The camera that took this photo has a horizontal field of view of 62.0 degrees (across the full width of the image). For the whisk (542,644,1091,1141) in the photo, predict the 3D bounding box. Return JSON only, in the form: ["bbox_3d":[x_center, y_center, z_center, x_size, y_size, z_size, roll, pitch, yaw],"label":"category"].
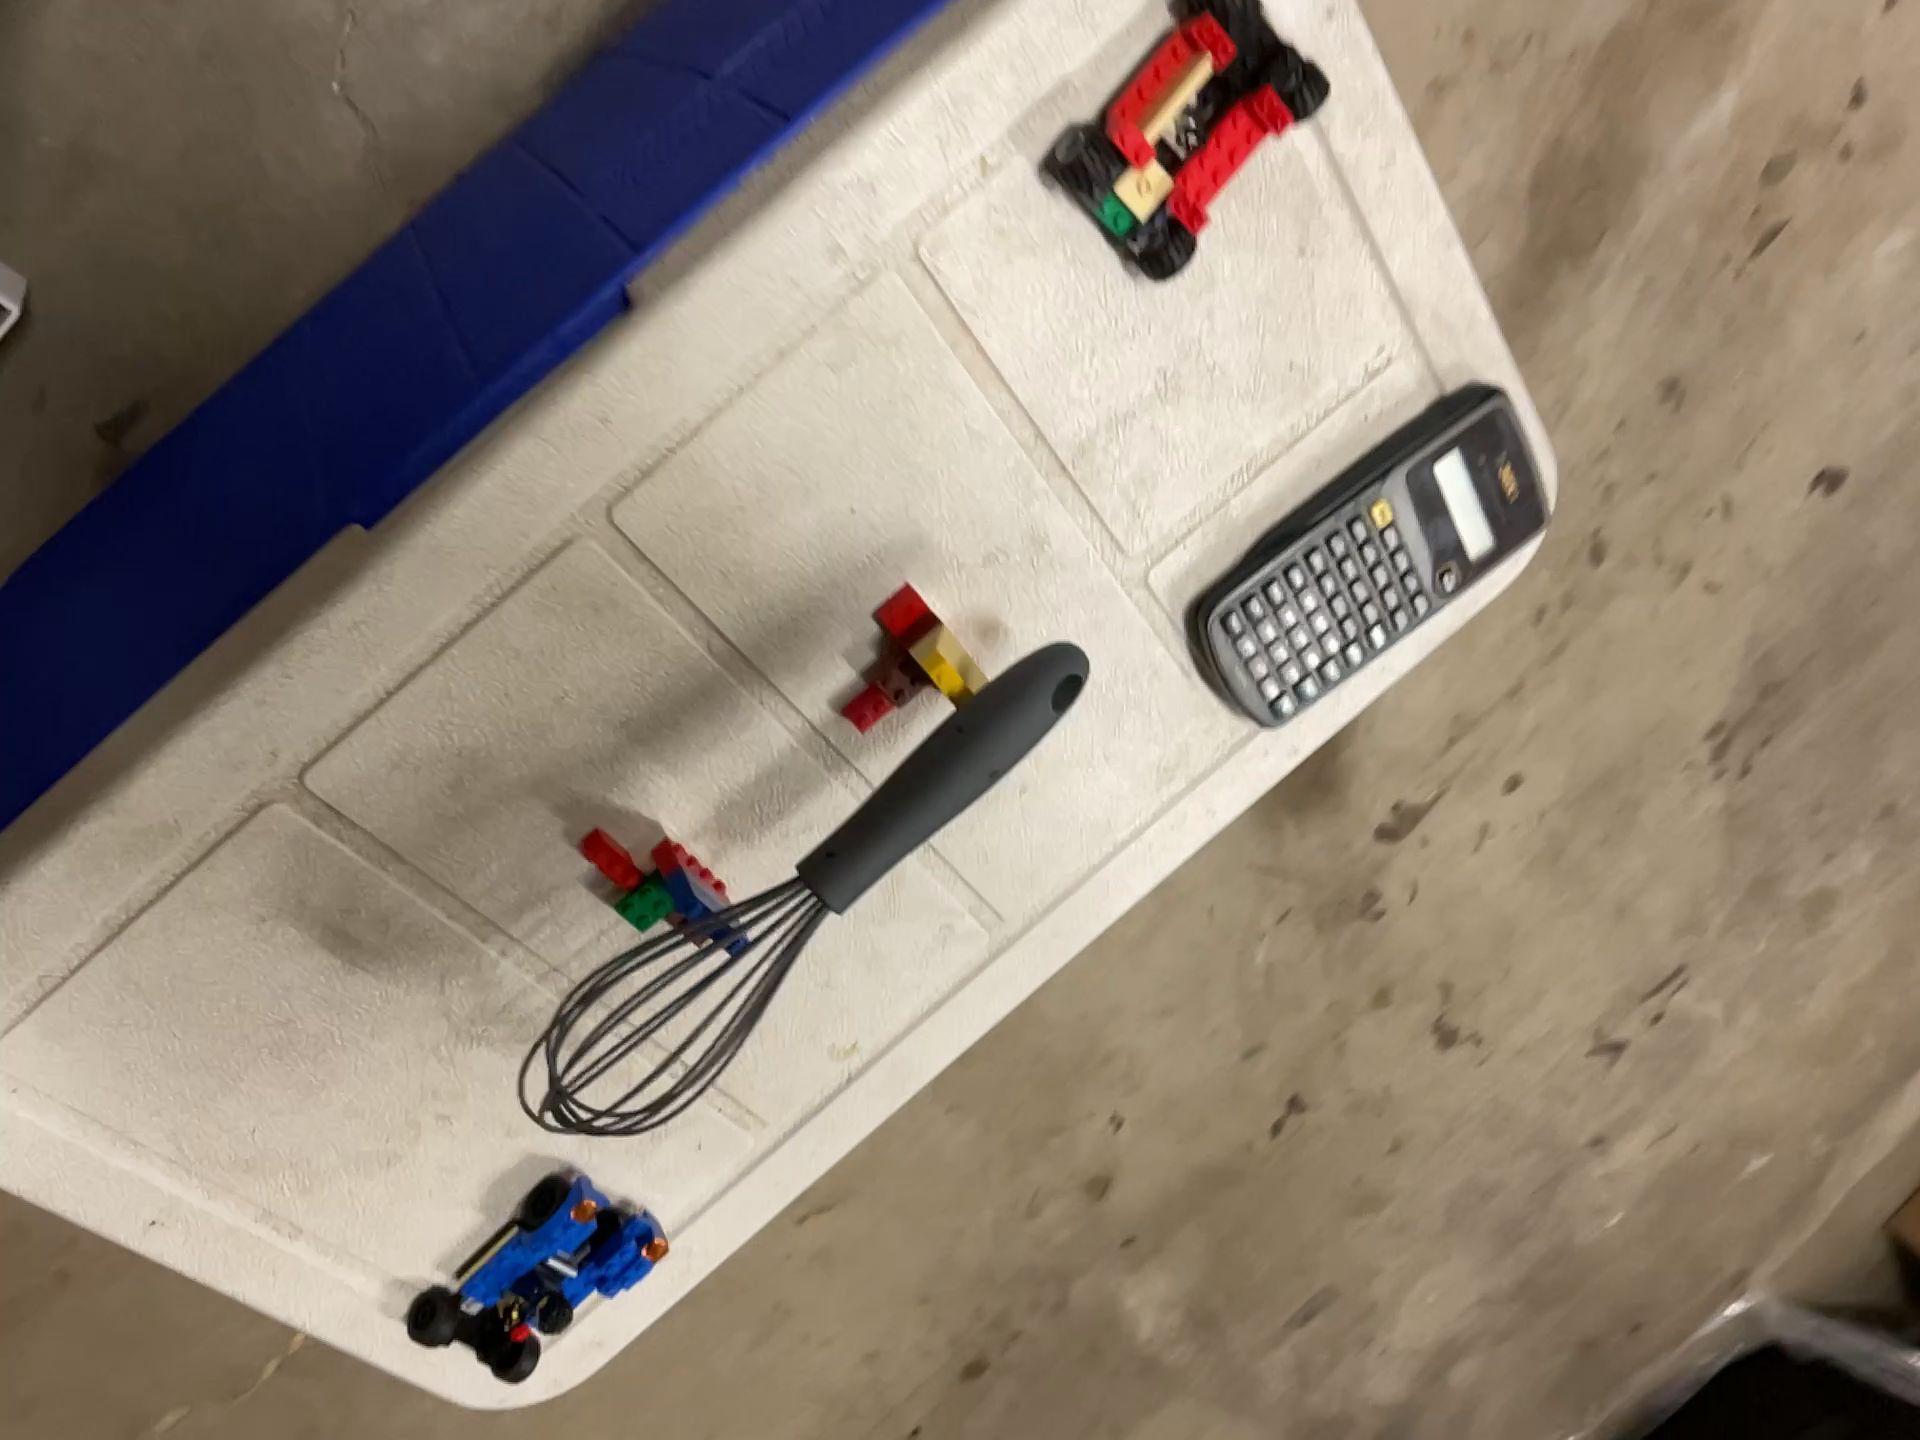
[{"bbox_3d":[-0.047,0.056,0.536,0.239,0.055,0.055,-41,130,-5],"label":"whisk"}]
